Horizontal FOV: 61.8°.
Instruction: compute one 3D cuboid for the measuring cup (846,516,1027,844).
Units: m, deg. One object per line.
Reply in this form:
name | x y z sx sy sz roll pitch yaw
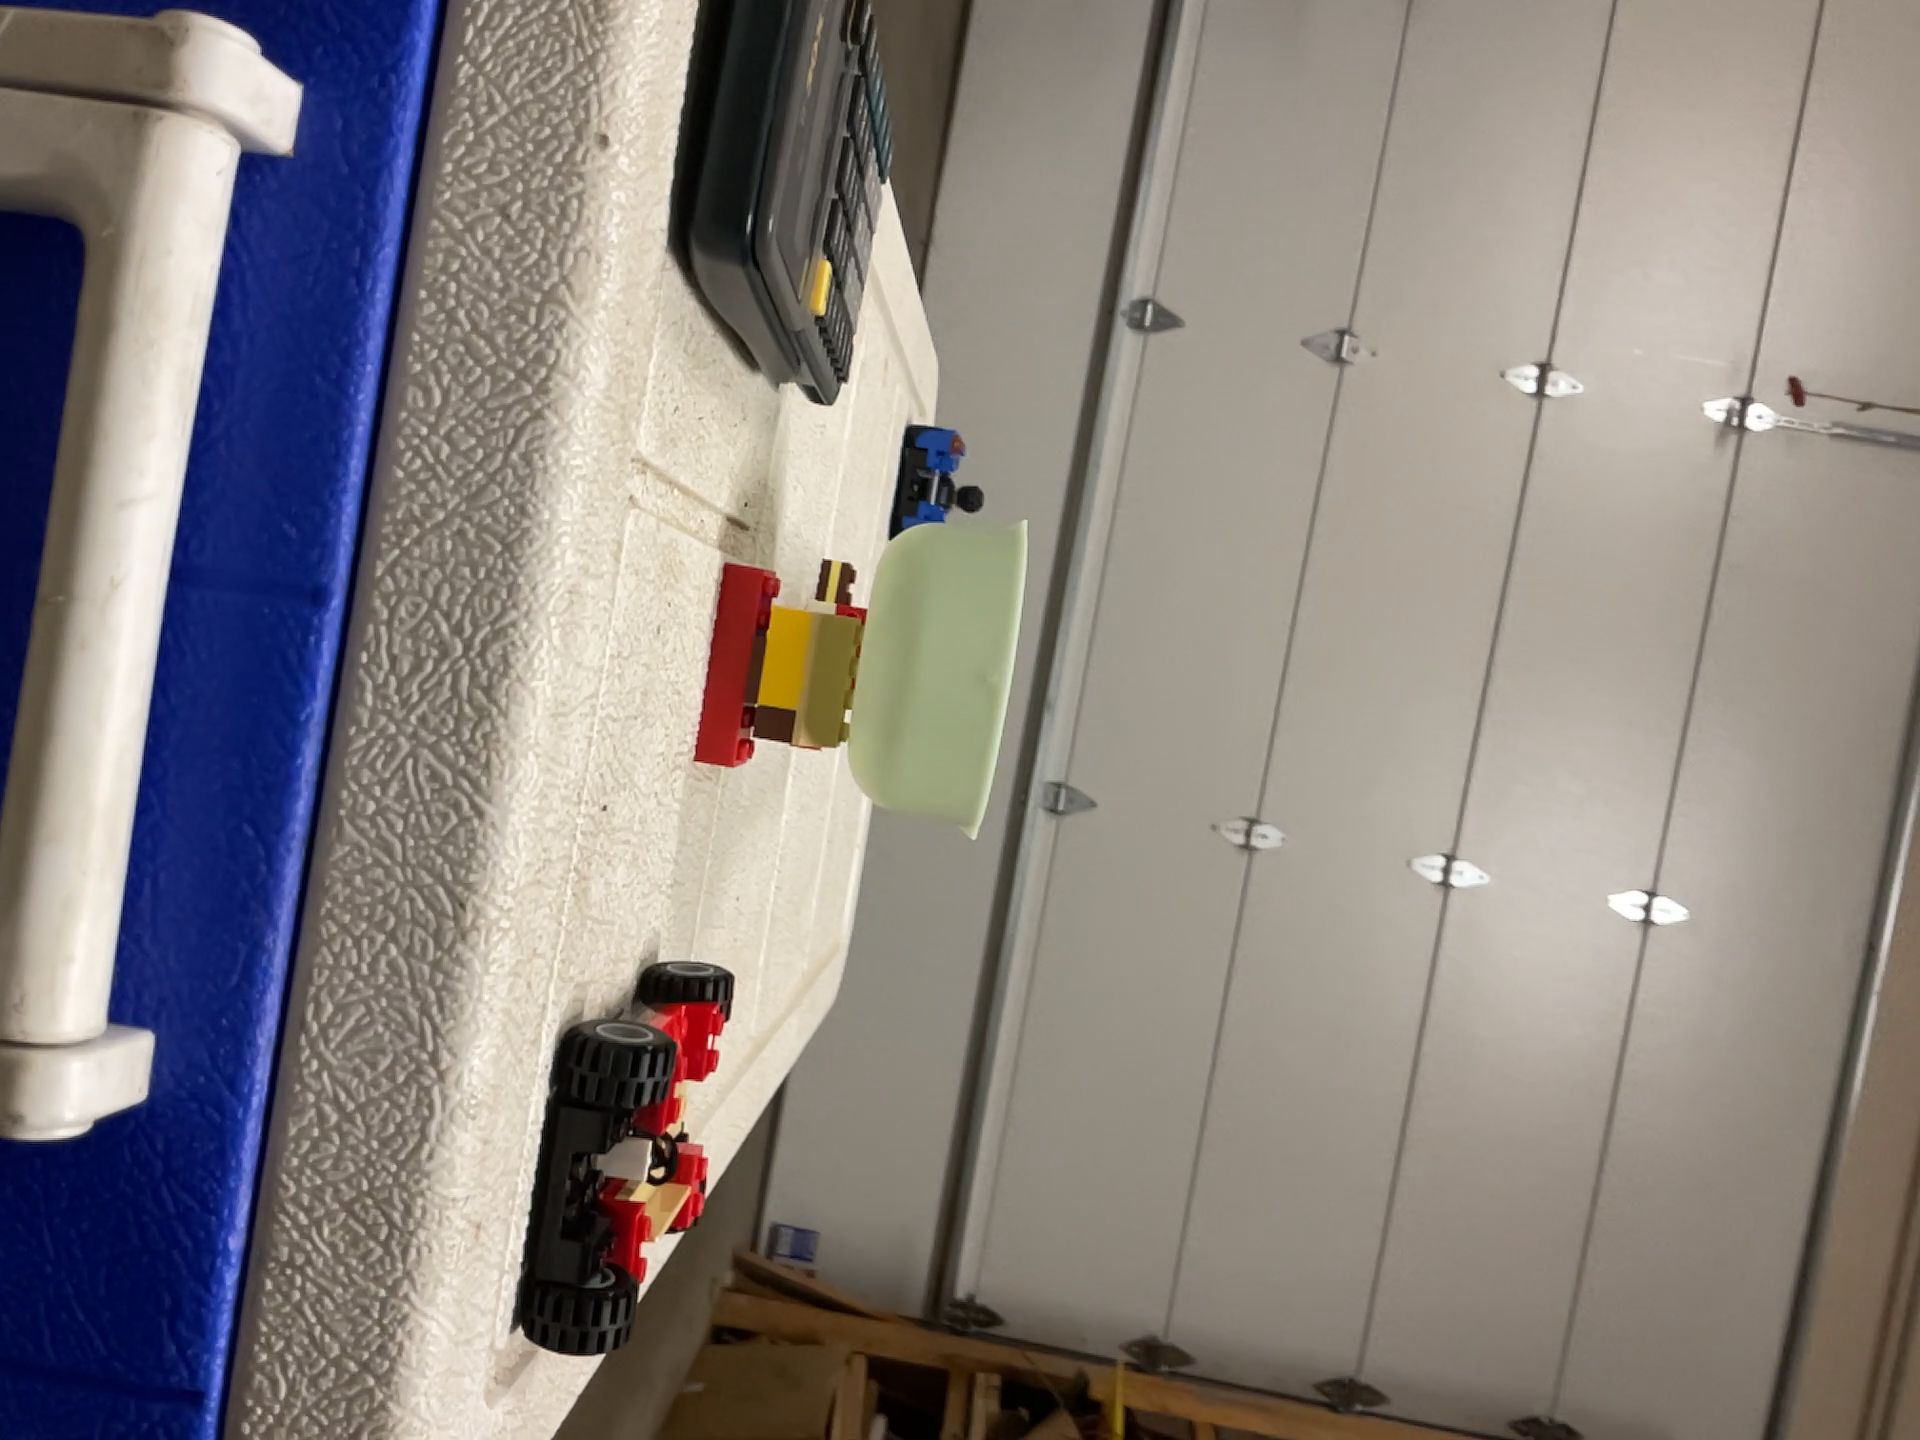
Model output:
measuring cup | -0.009 -0.015 0.447 0.167 0.038 0.083 -133 -129 -85
